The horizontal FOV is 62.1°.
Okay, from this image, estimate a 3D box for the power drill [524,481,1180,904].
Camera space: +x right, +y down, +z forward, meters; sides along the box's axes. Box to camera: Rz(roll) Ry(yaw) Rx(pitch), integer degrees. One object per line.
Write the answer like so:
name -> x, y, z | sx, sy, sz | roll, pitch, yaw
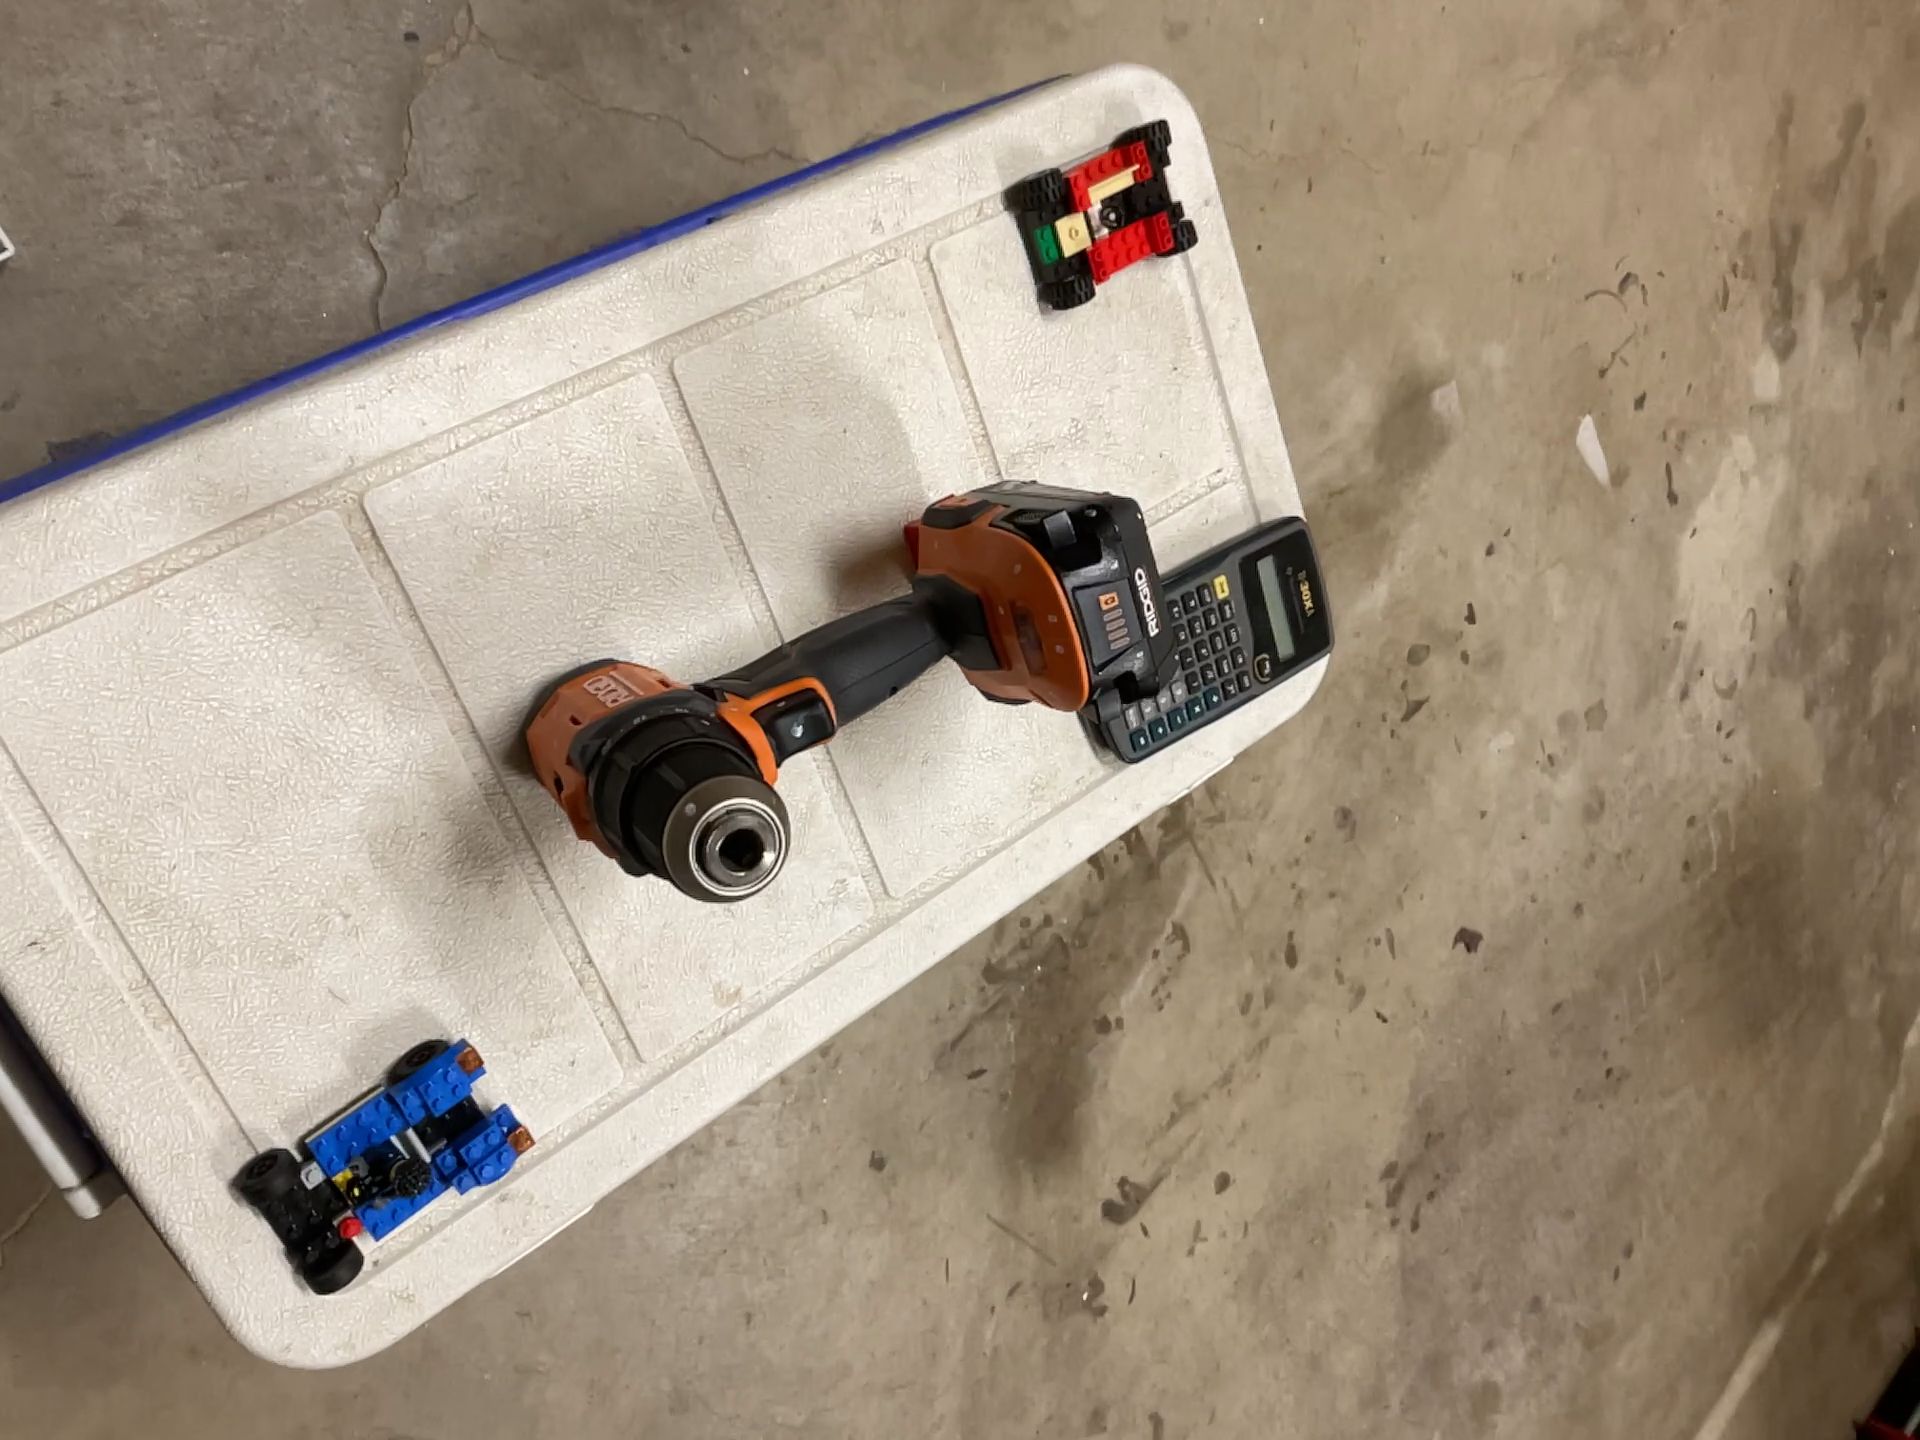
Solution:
power drill -> -0.034, -0.011, 0.572 | 0.226, 0.185, 0.084 | -24, 110, -18
